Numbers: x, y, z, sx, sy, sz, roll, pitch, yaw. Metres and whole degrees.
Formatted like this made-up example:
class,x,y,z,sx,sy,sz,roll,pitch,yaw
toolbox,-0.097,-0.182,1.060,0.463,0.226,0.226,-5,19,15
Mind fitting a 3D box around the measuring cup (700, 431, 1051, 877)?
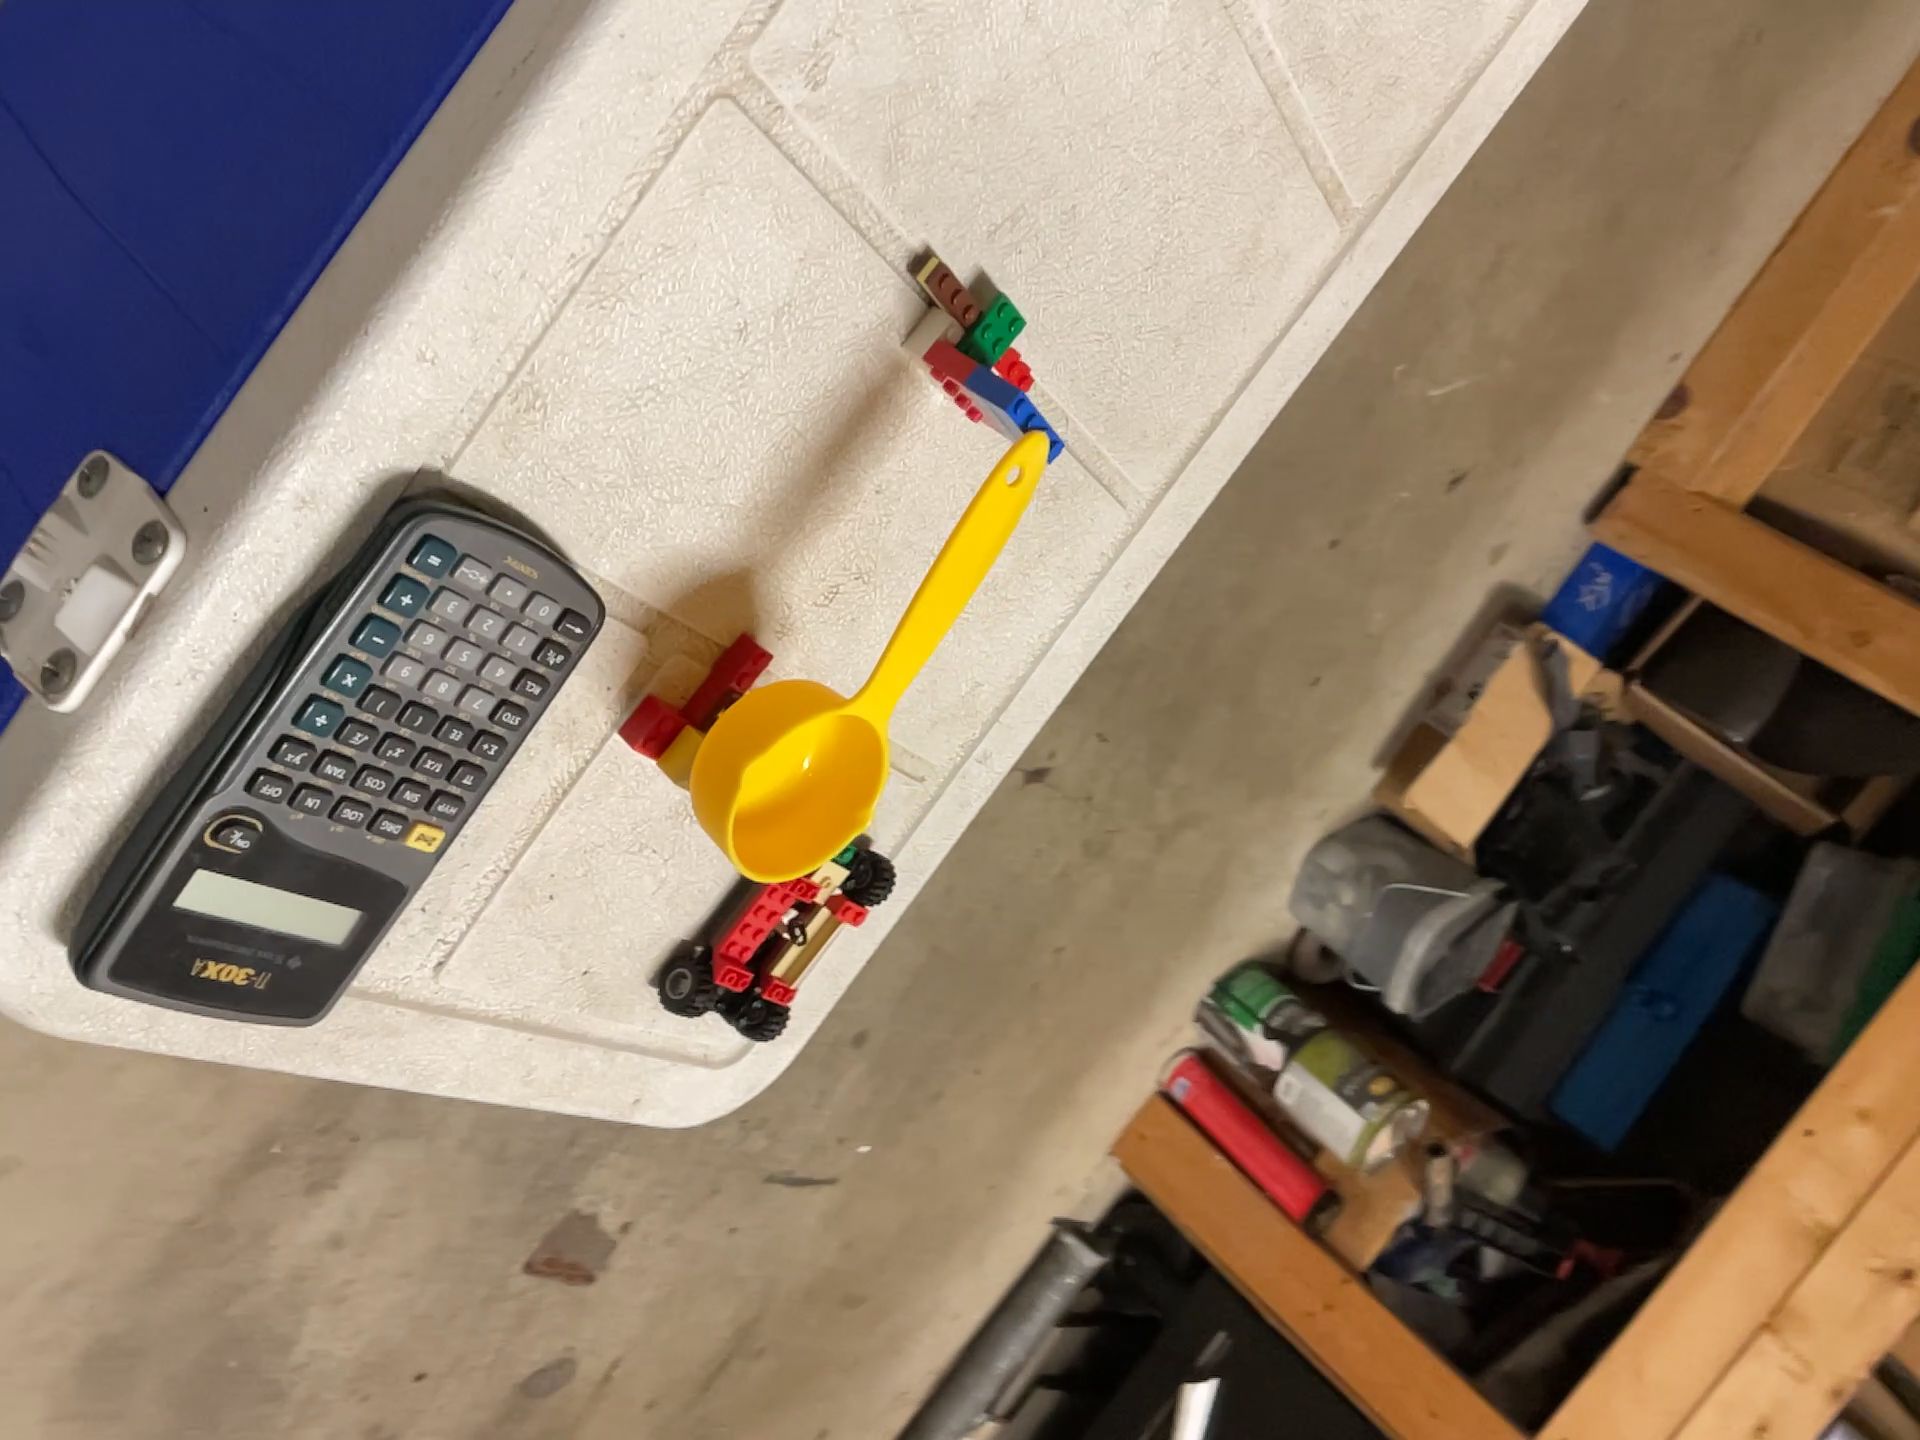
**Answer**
class,x,y,z,sx,sy,sz,roll,pitch,yaw
measuring cup,-0.025,-0.025,0.482,0.156,0.029,0.062,-57,145,1
